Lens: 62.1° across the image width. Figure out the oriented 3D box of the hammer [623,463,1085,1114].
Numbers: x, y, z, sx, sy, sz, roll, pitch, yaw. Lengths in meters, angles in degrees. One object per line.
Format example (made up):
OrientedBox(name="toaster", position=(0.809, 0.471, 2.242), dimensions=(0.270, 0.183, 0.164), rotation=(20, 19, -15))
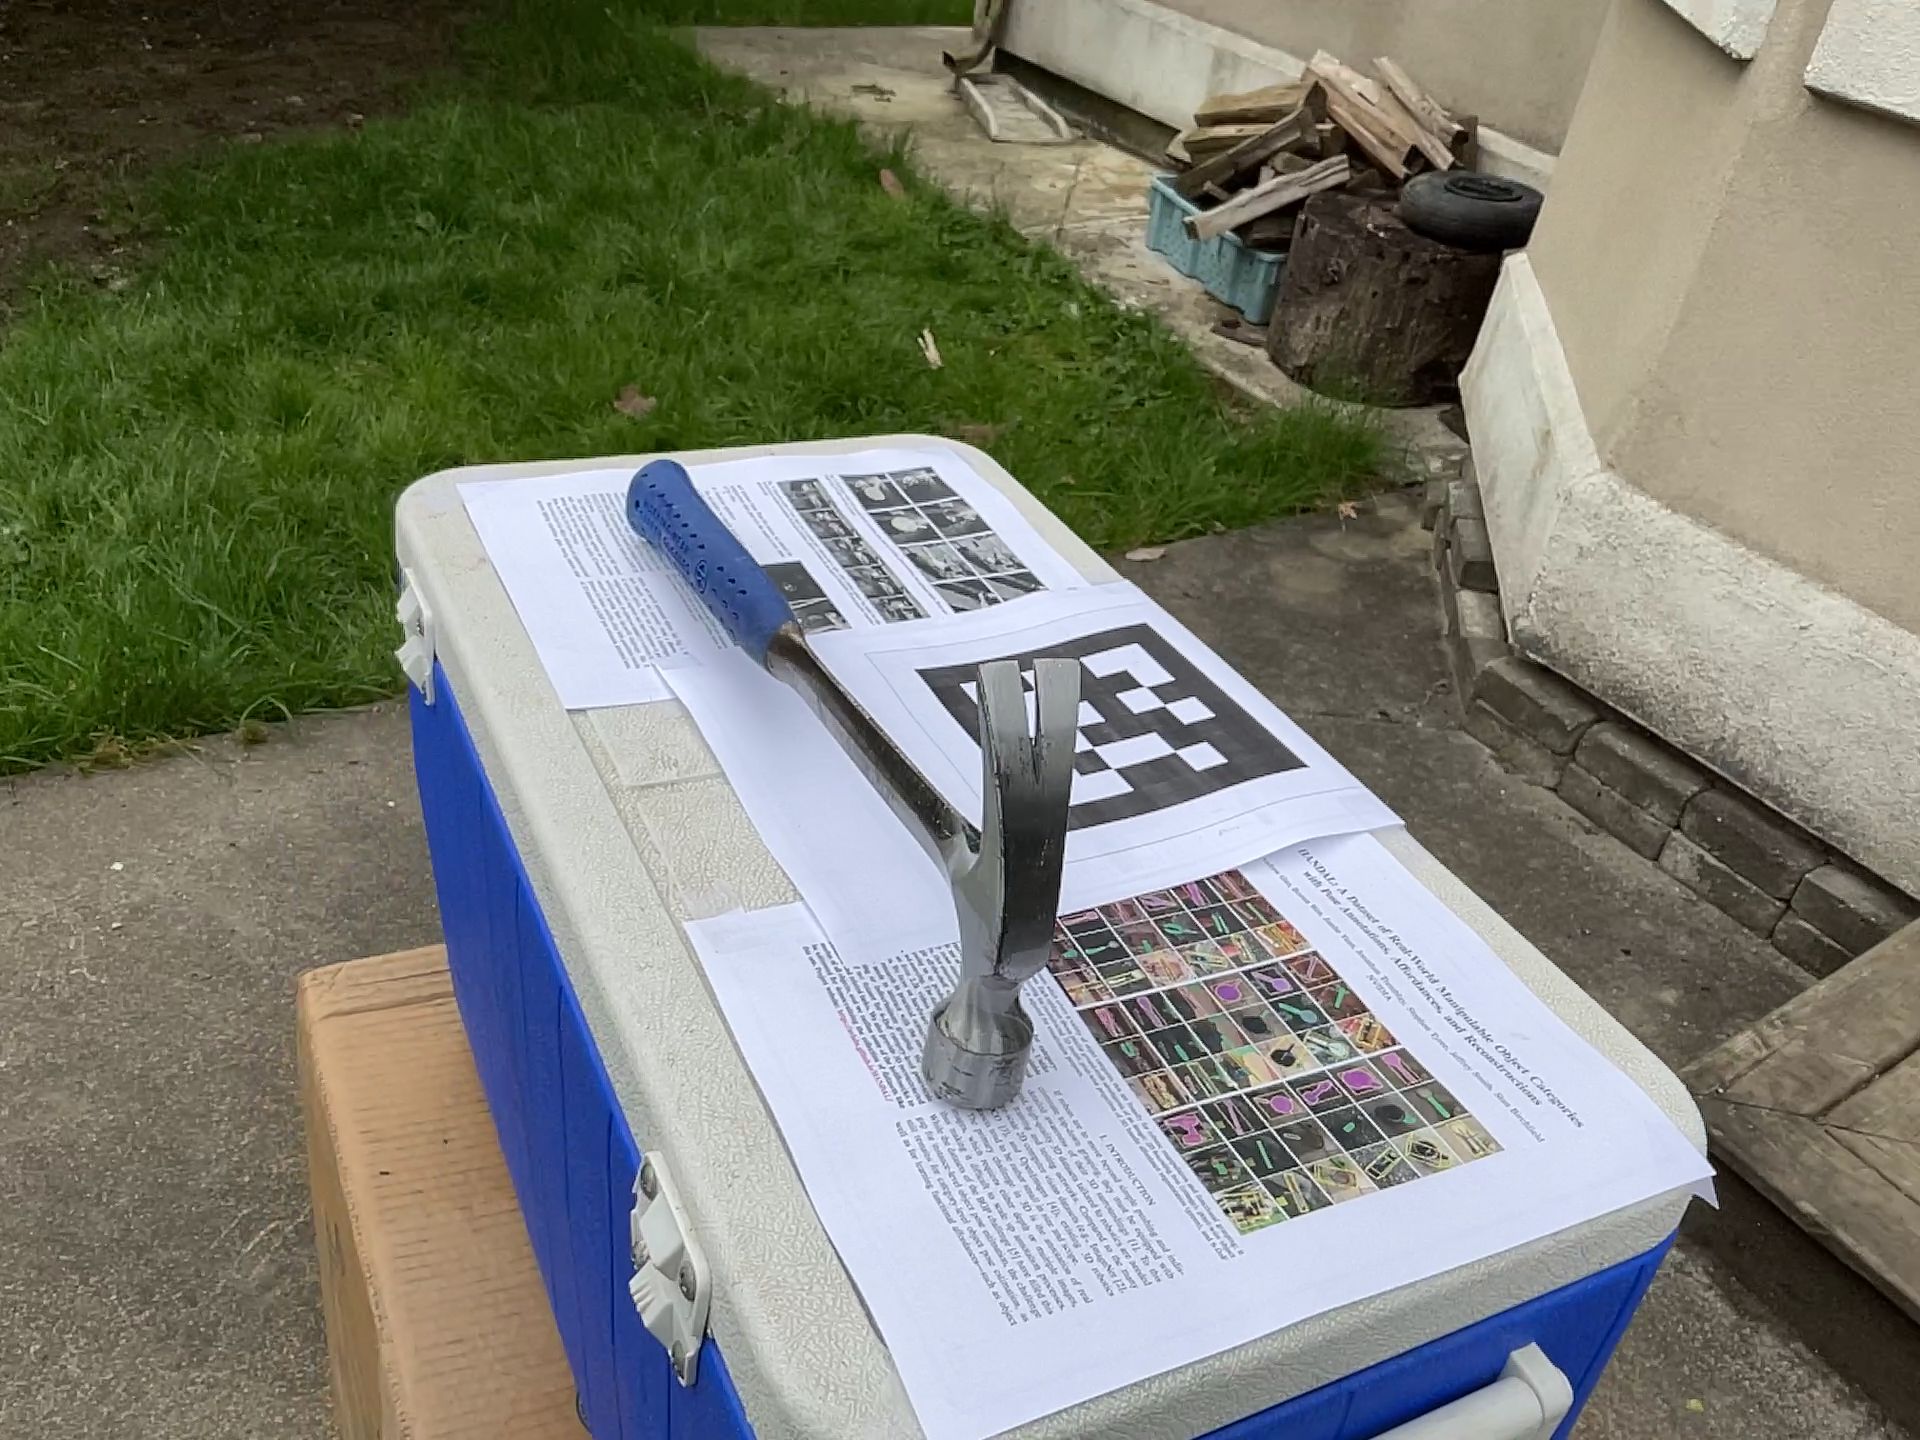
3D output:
OrientedBox(name="hammer", position=(-0.064, -0.027, 0.633), dimensions=(0.035, 0.144, 0.405), rotation=(-3, 27, -27))
